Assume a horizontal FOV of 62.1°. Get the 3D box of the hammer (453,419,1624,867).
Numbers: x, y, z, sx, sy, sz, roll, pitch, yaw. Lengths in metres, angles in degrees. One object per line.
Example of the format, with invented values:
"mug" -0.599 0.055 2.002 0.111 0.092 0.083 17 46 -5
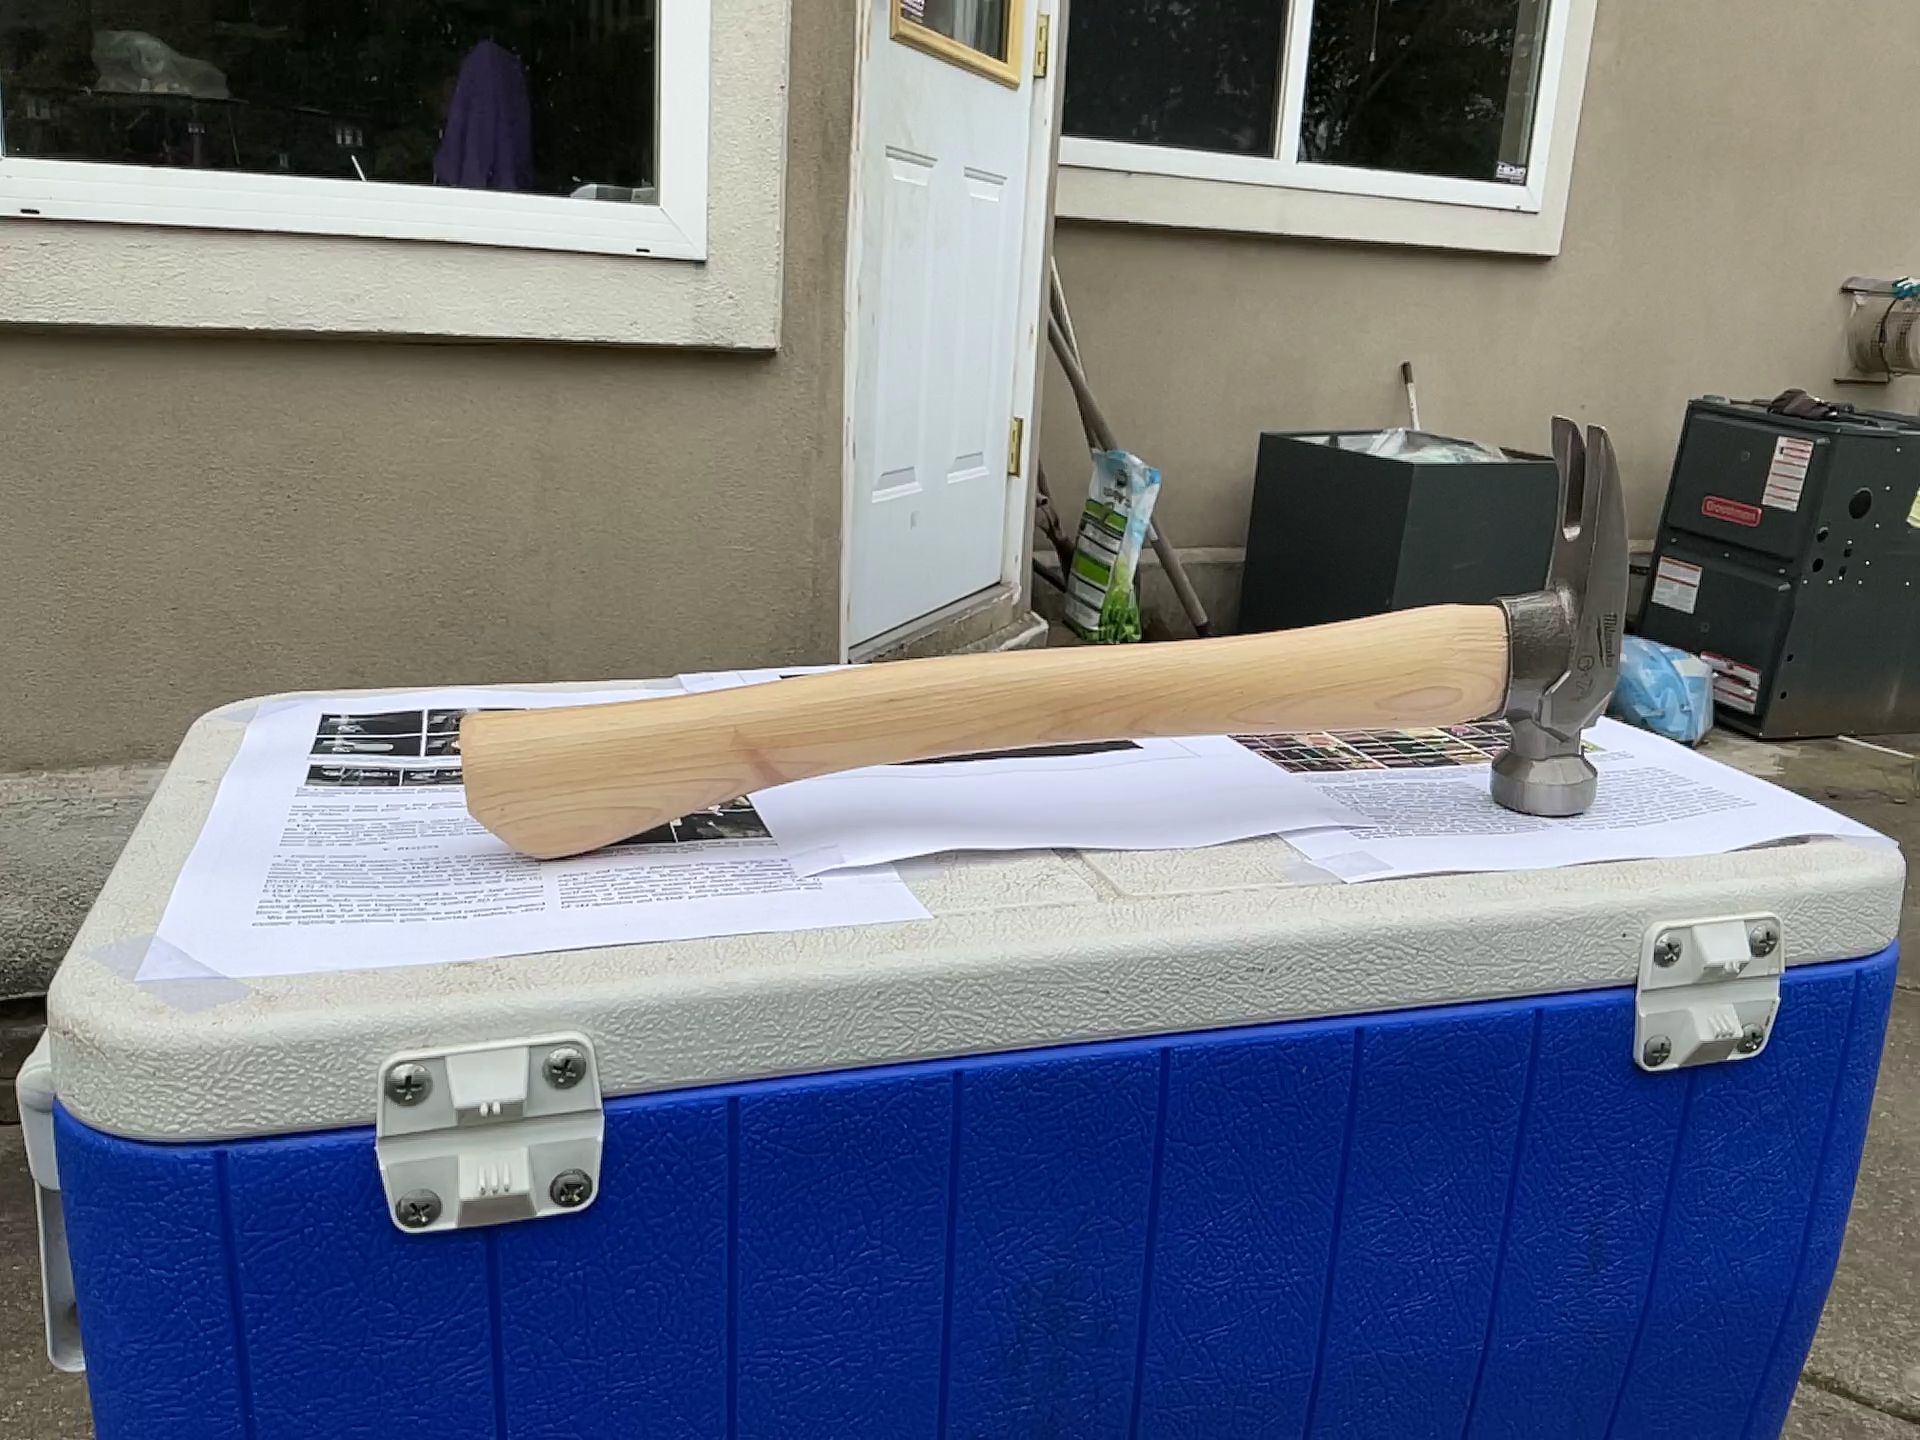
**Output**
"hammer" 0.039 -0.015 0.550 0.410 0.146 0.038 -7 18 -13
